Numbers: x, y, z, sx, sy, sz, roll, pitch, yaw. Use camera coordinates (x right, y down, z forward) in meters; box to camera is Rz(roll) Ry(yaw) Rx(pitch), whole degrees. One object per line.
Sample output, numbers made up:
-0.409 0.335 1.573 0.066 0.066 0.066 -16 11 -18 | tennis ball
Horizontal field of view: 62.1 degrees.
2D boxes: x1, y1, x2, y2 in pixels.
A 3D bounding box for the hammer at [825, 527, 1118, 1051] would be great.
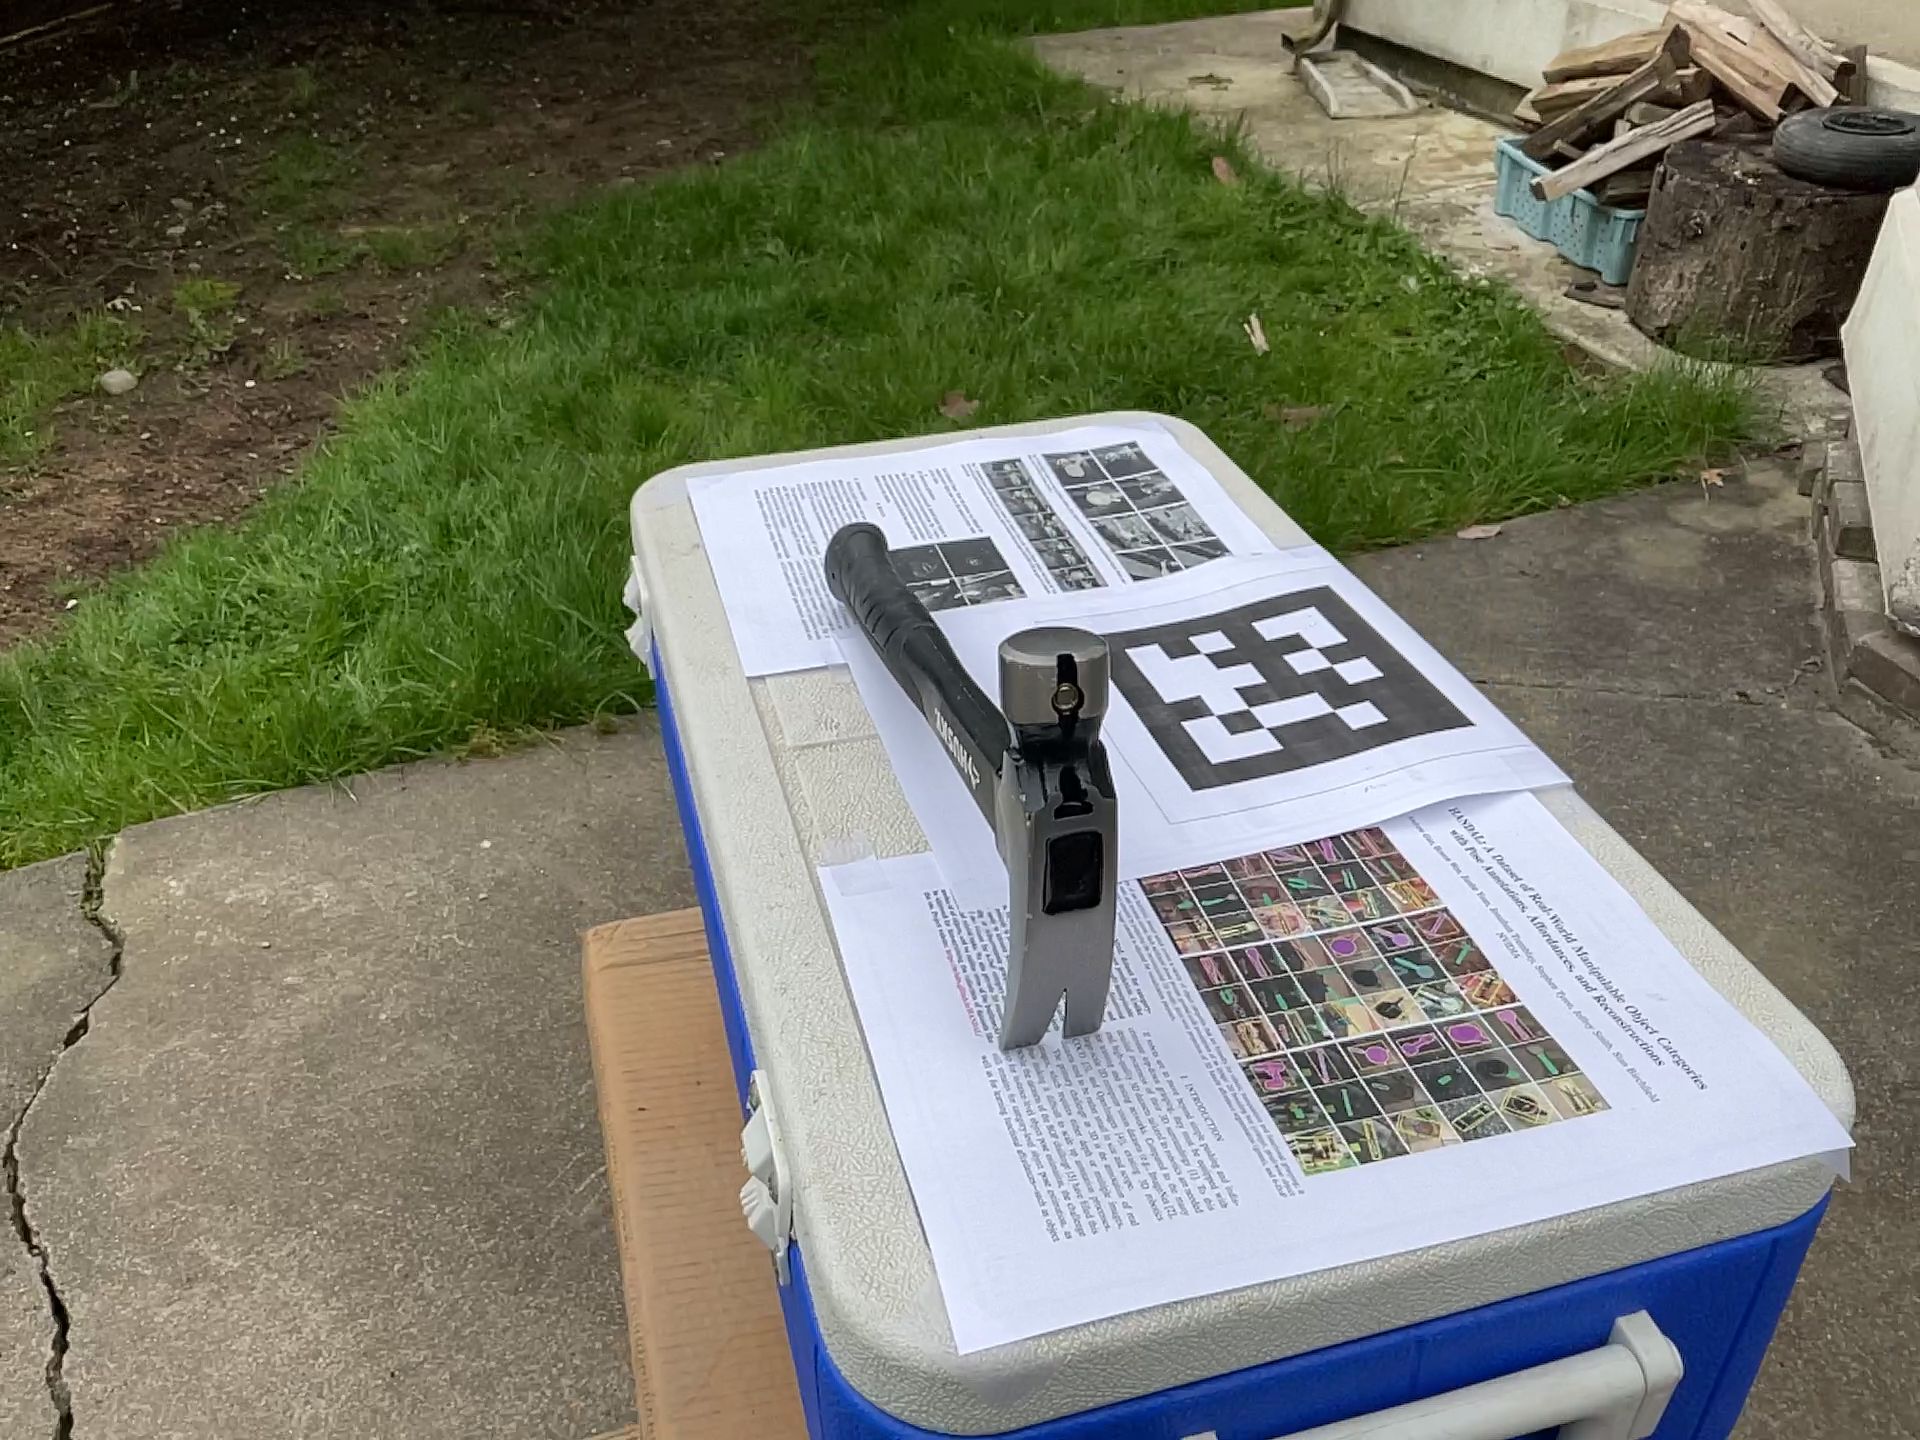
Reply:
-0.008 -0.008 0.624 0.035 0.146 0.335 -8 23 -13 | hammer
